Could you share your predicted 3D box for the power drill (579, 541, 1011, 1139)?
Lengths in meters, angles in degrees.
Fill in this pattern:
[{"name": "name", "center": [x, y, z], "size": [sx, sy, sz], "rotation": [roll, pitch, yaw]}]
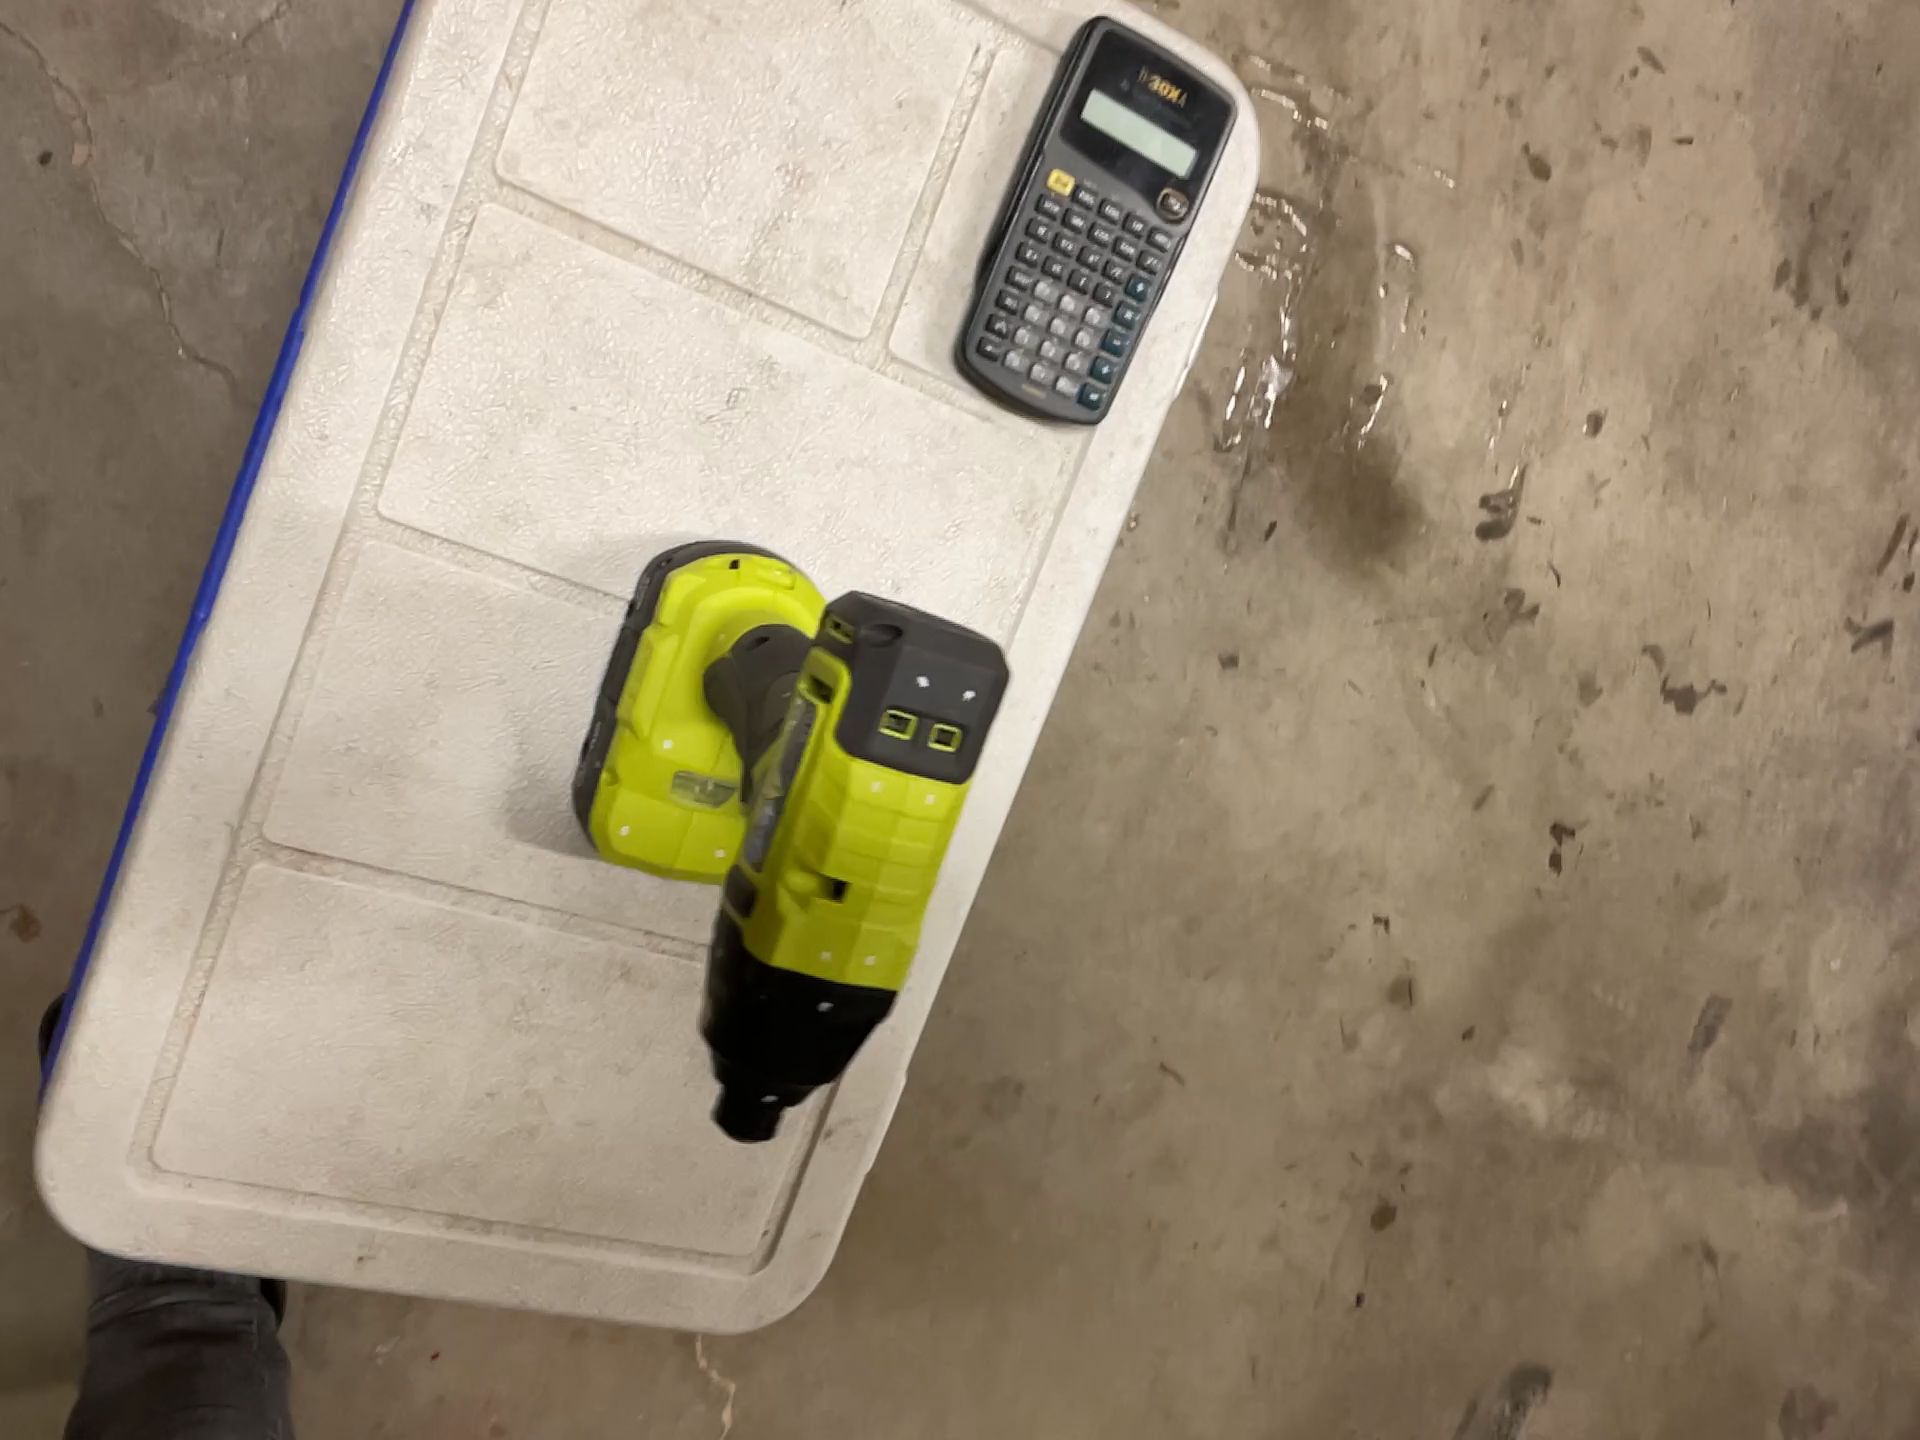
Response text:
[{"name": "power drill", "center": [-0.071, 0.027, 0.563], "size": [0.080, 0.223, 0.171], "rotation": [16, 98, -25]}]
